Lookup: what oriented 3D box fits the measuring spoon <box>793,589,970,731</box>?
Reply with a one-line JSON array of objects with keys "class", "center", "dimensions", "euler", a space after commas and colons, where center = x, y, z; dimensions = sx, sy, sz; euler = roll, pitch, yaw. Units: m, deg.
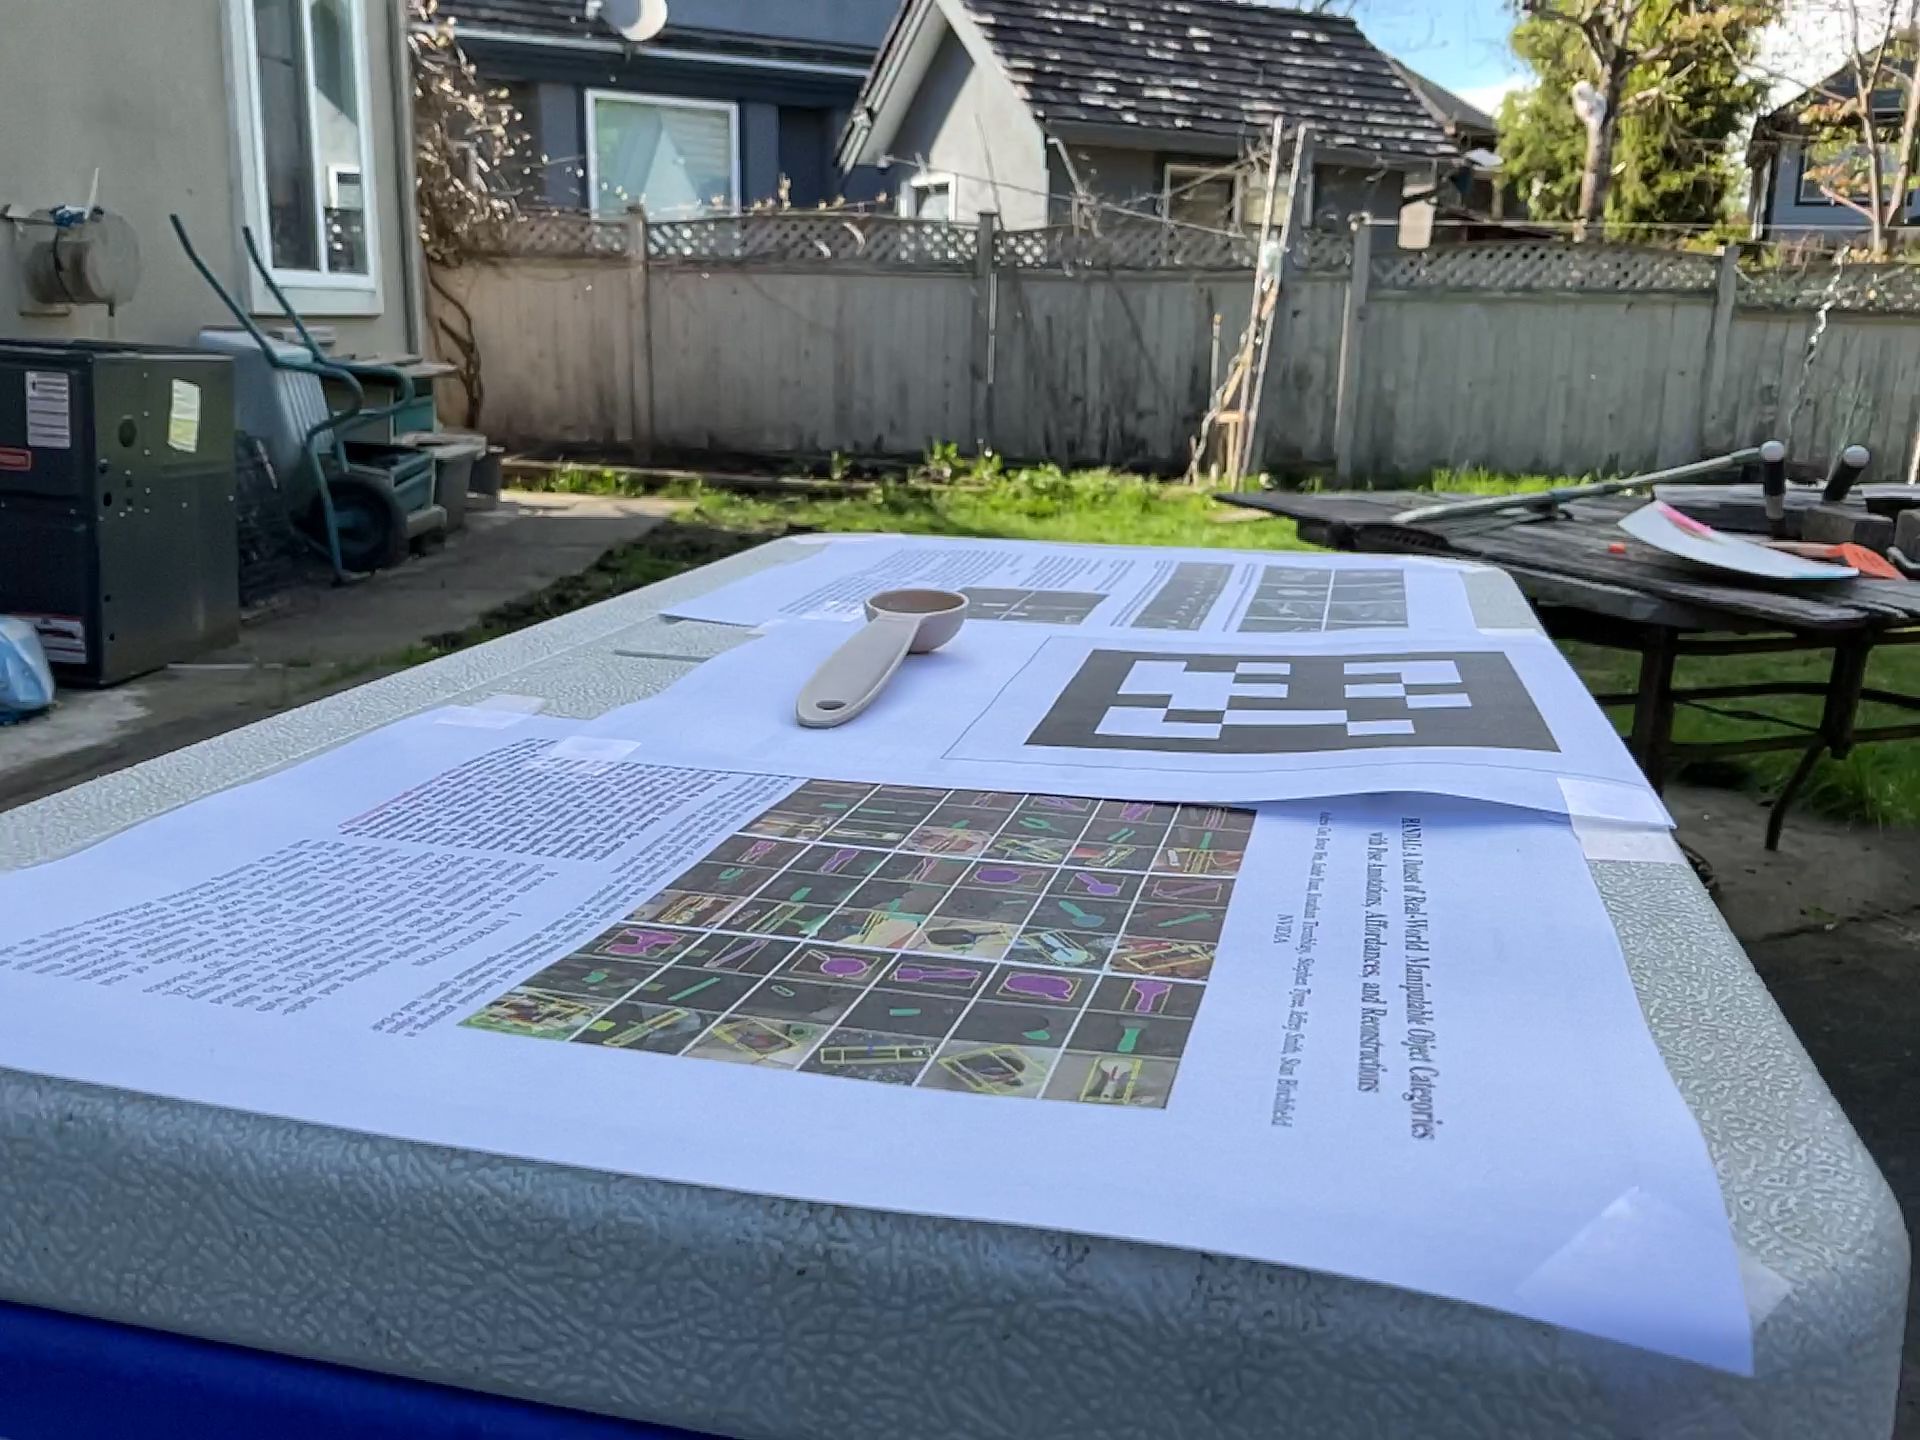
[{"class": "measuring spoon", "center": [-0.025, -0.015, 0.470], "dimensions": [0.034, 0.018, 0.124], "euler": [5, 21, 12]}]
